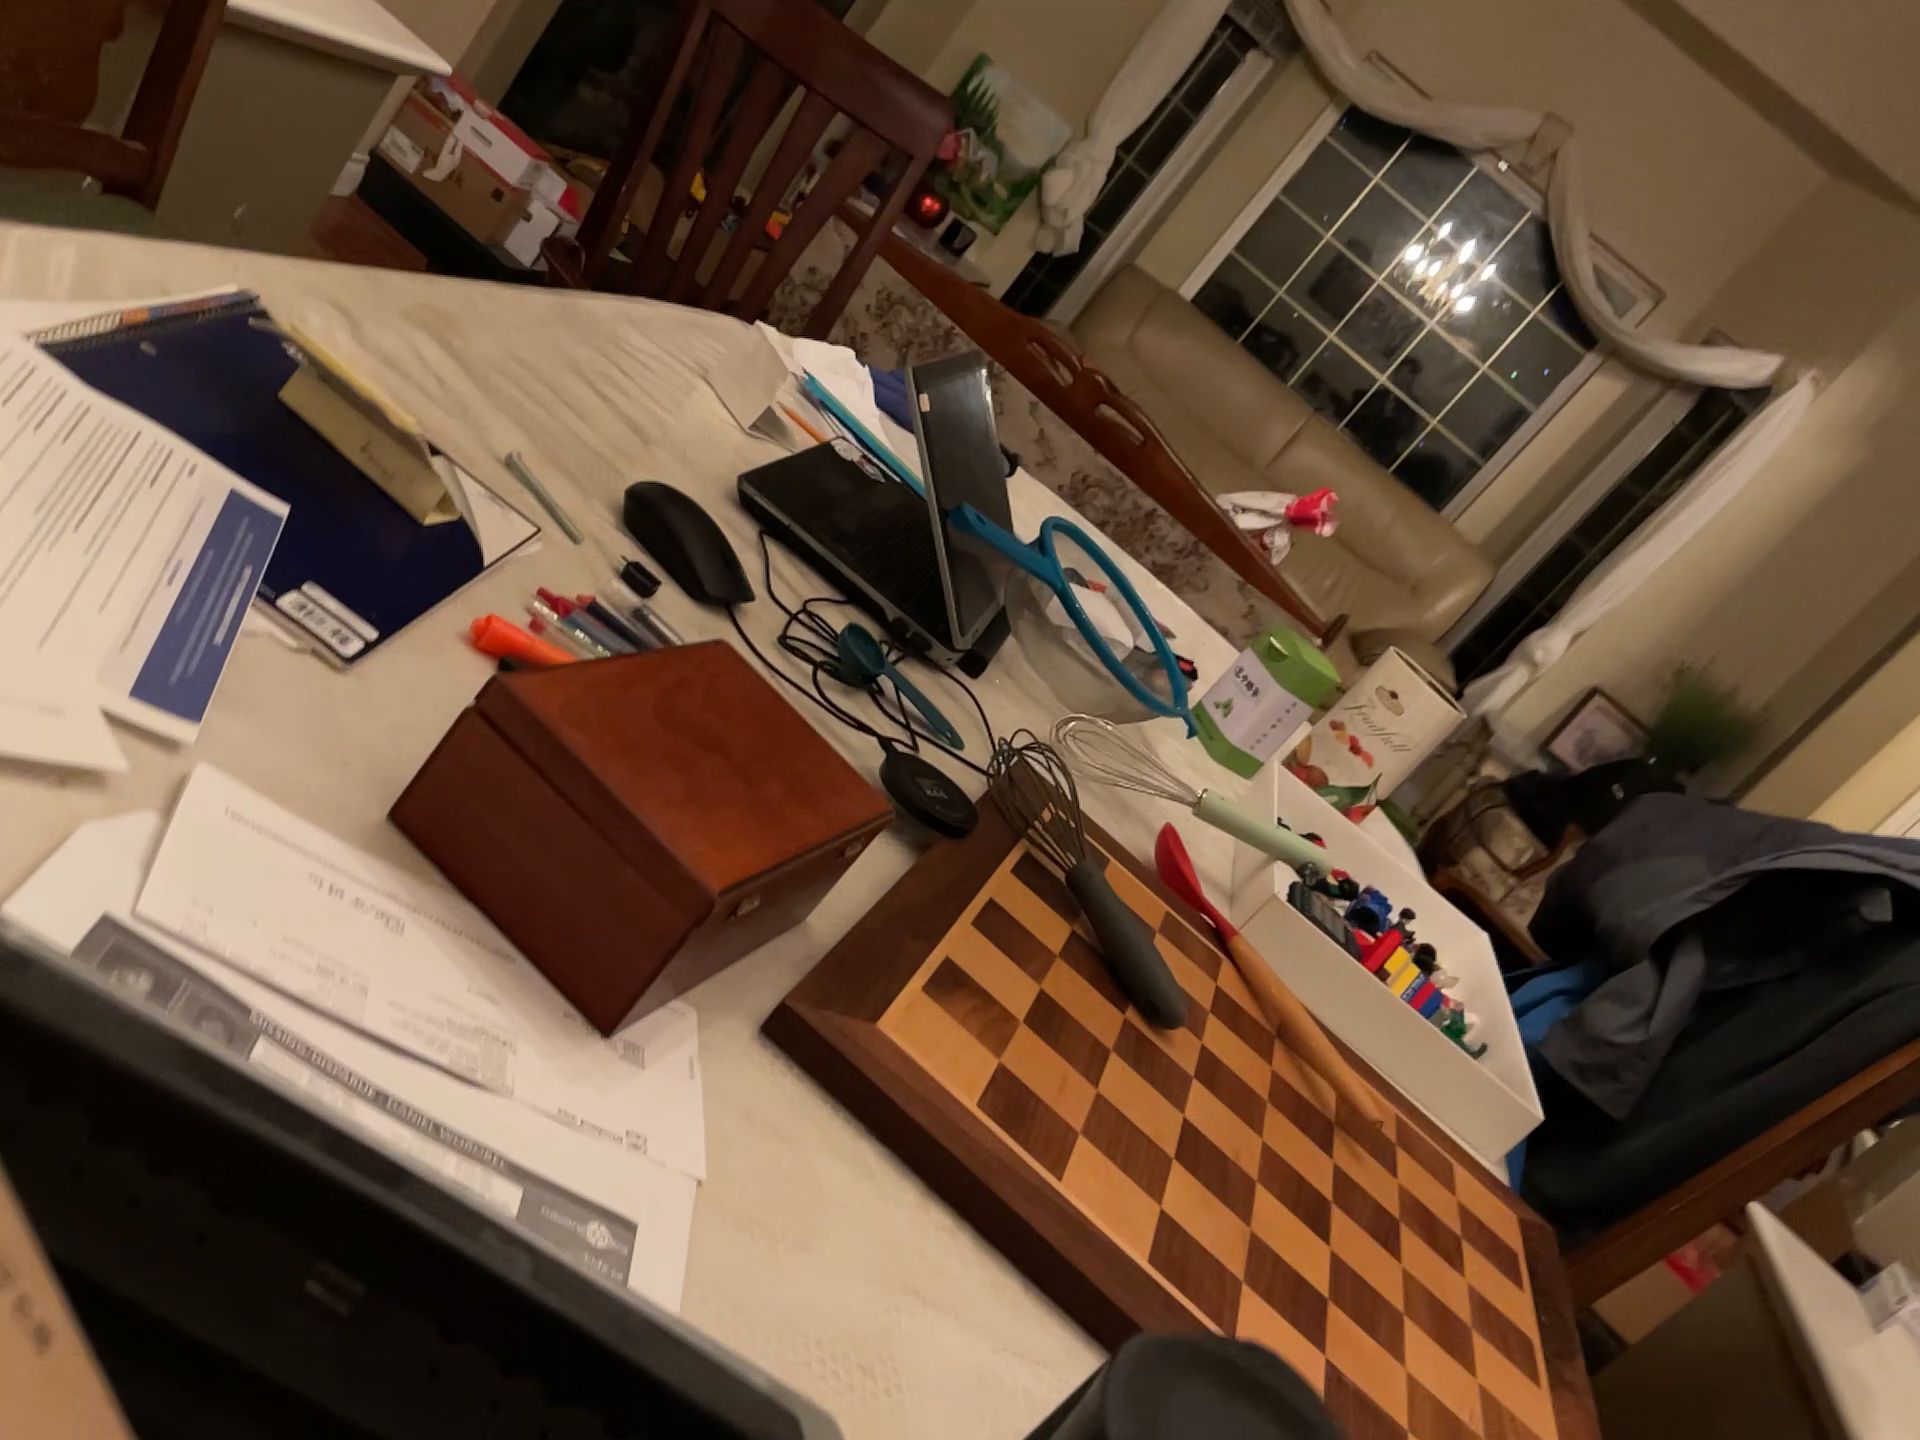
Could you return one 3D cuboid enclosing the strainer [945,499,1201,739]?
[{"bbox_3d":[0.067,-0.089,1.349,0.339,0.095,0.211,27,35,-49],"label":"strainer"}]

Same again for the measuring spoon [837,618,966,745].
[{"bbox_3d":[-0.043,-0.020,1.112,0.128,0.021,0.042,45,22,-26],"label":"measuring spoon"}]

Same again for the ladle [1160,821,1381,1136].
[{"bbox_3d":[0.203,0.170,1.086,0.069,0.031,0.316,55,2,-35],"label":"ladle"}]

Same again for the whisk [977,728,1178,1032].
[{"bbox_3d":[0.072,0.095,0.985,0.055,0.055,0.239,7,40,-37],"label":"whisk"}]

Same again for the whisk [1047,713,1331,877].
[{"bbox_3d":[0.180,0.060,1.253,0.246,0.058,0.059,27,48,4],"label":"whisk"}]
